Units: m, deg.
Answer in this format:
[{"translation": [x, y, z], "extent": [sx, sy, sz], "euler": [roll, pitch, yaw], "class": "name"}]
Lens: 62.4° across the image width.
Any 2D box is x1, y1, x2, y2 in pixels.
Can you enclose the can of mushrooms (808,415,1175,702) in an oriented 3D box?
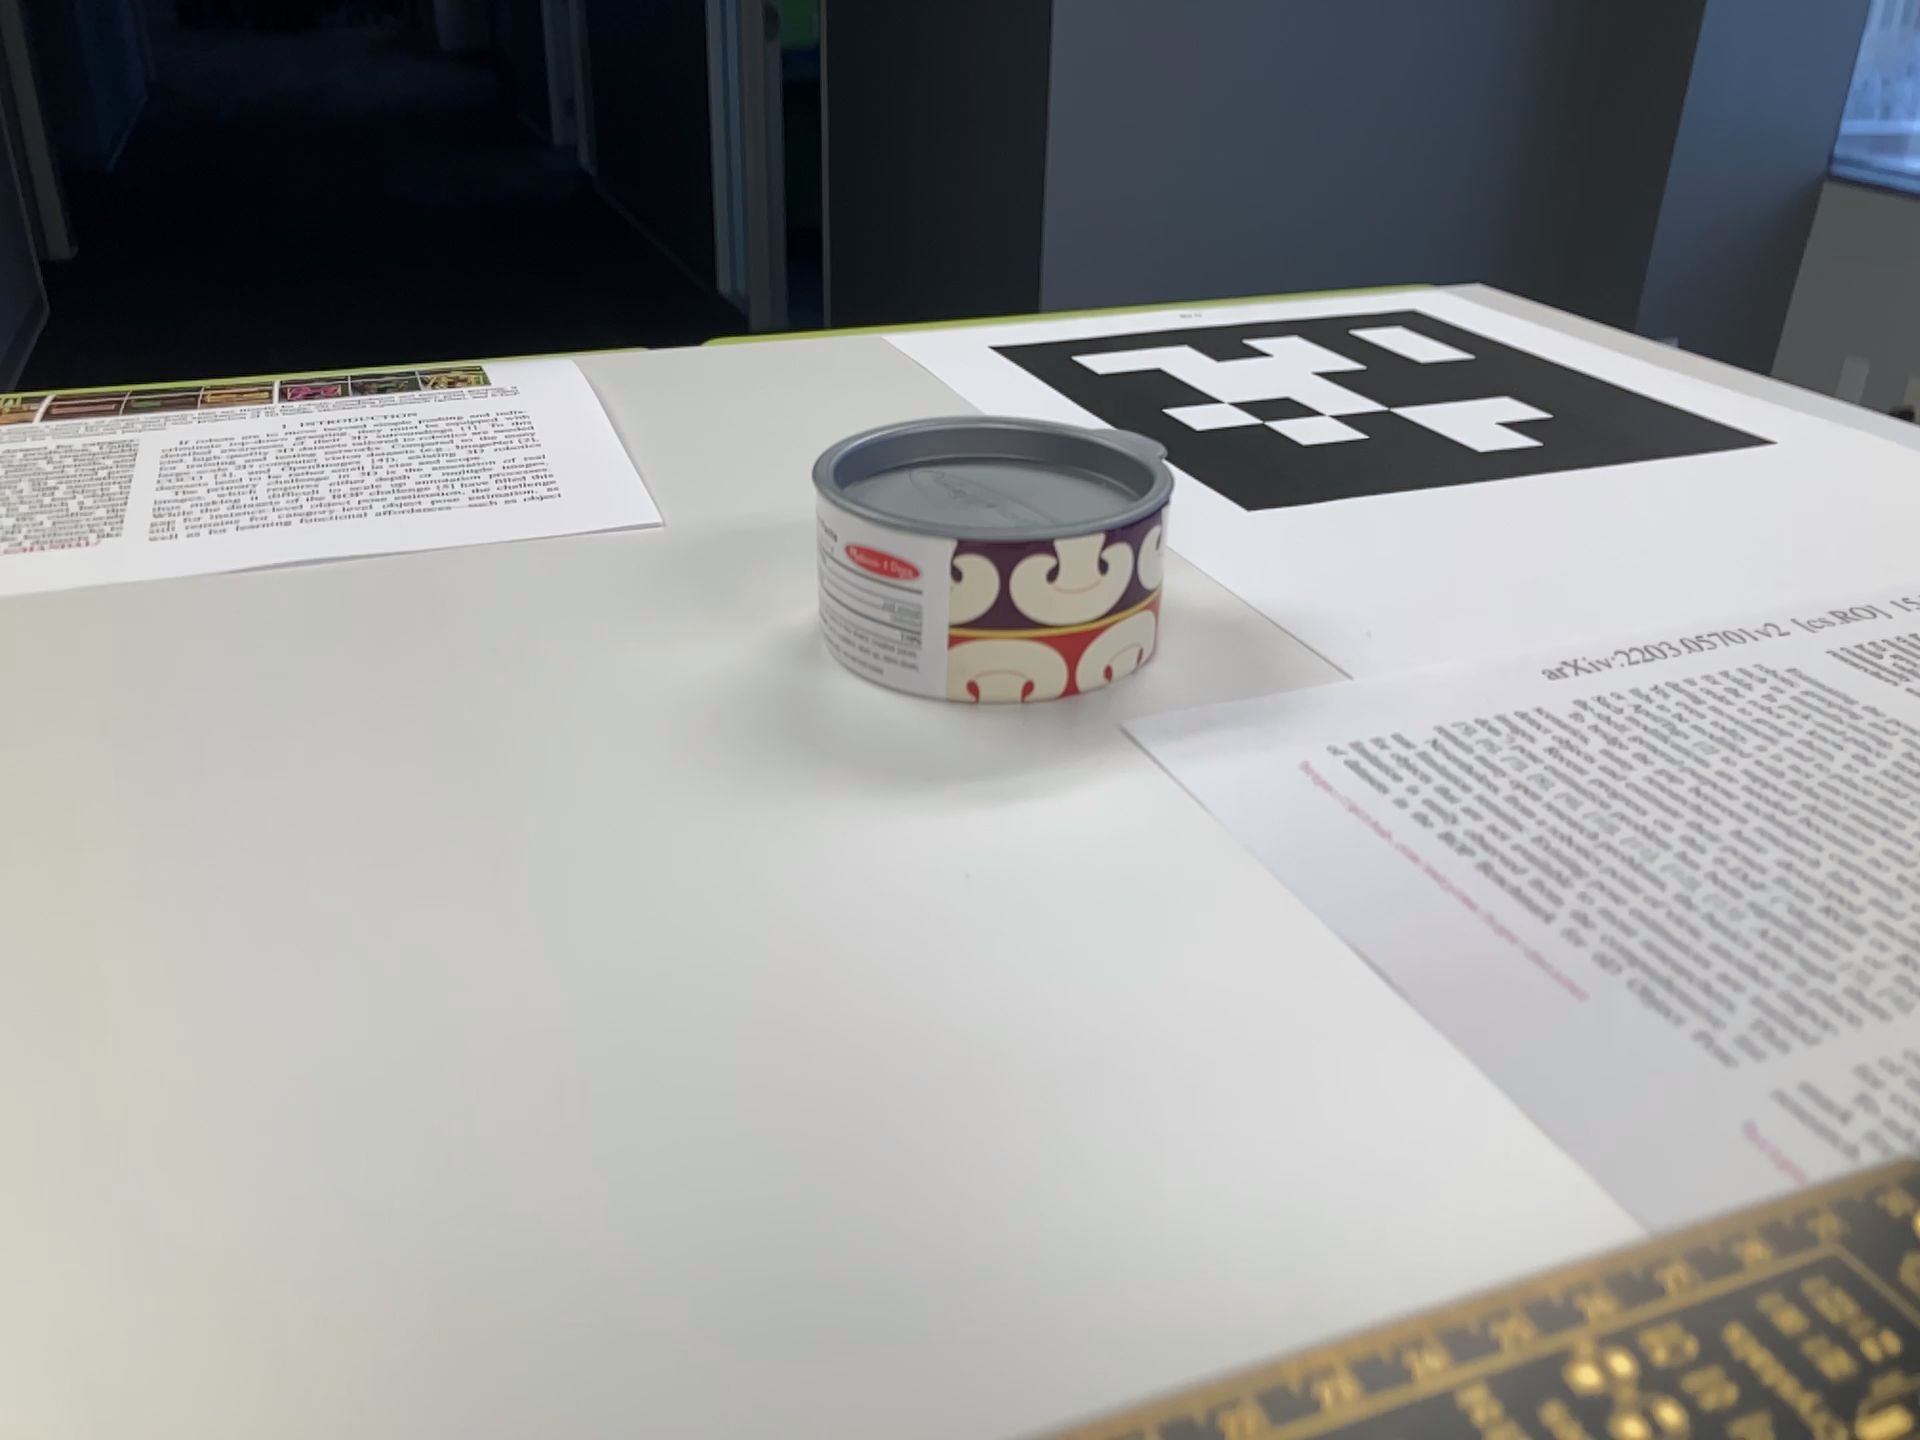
[{"translation": [0.008, -0.032, 0.296], "extent": [0.071, 0.033, 0.071], "euler": [0, 26, 0], "class": "can of mushrooms"}]
